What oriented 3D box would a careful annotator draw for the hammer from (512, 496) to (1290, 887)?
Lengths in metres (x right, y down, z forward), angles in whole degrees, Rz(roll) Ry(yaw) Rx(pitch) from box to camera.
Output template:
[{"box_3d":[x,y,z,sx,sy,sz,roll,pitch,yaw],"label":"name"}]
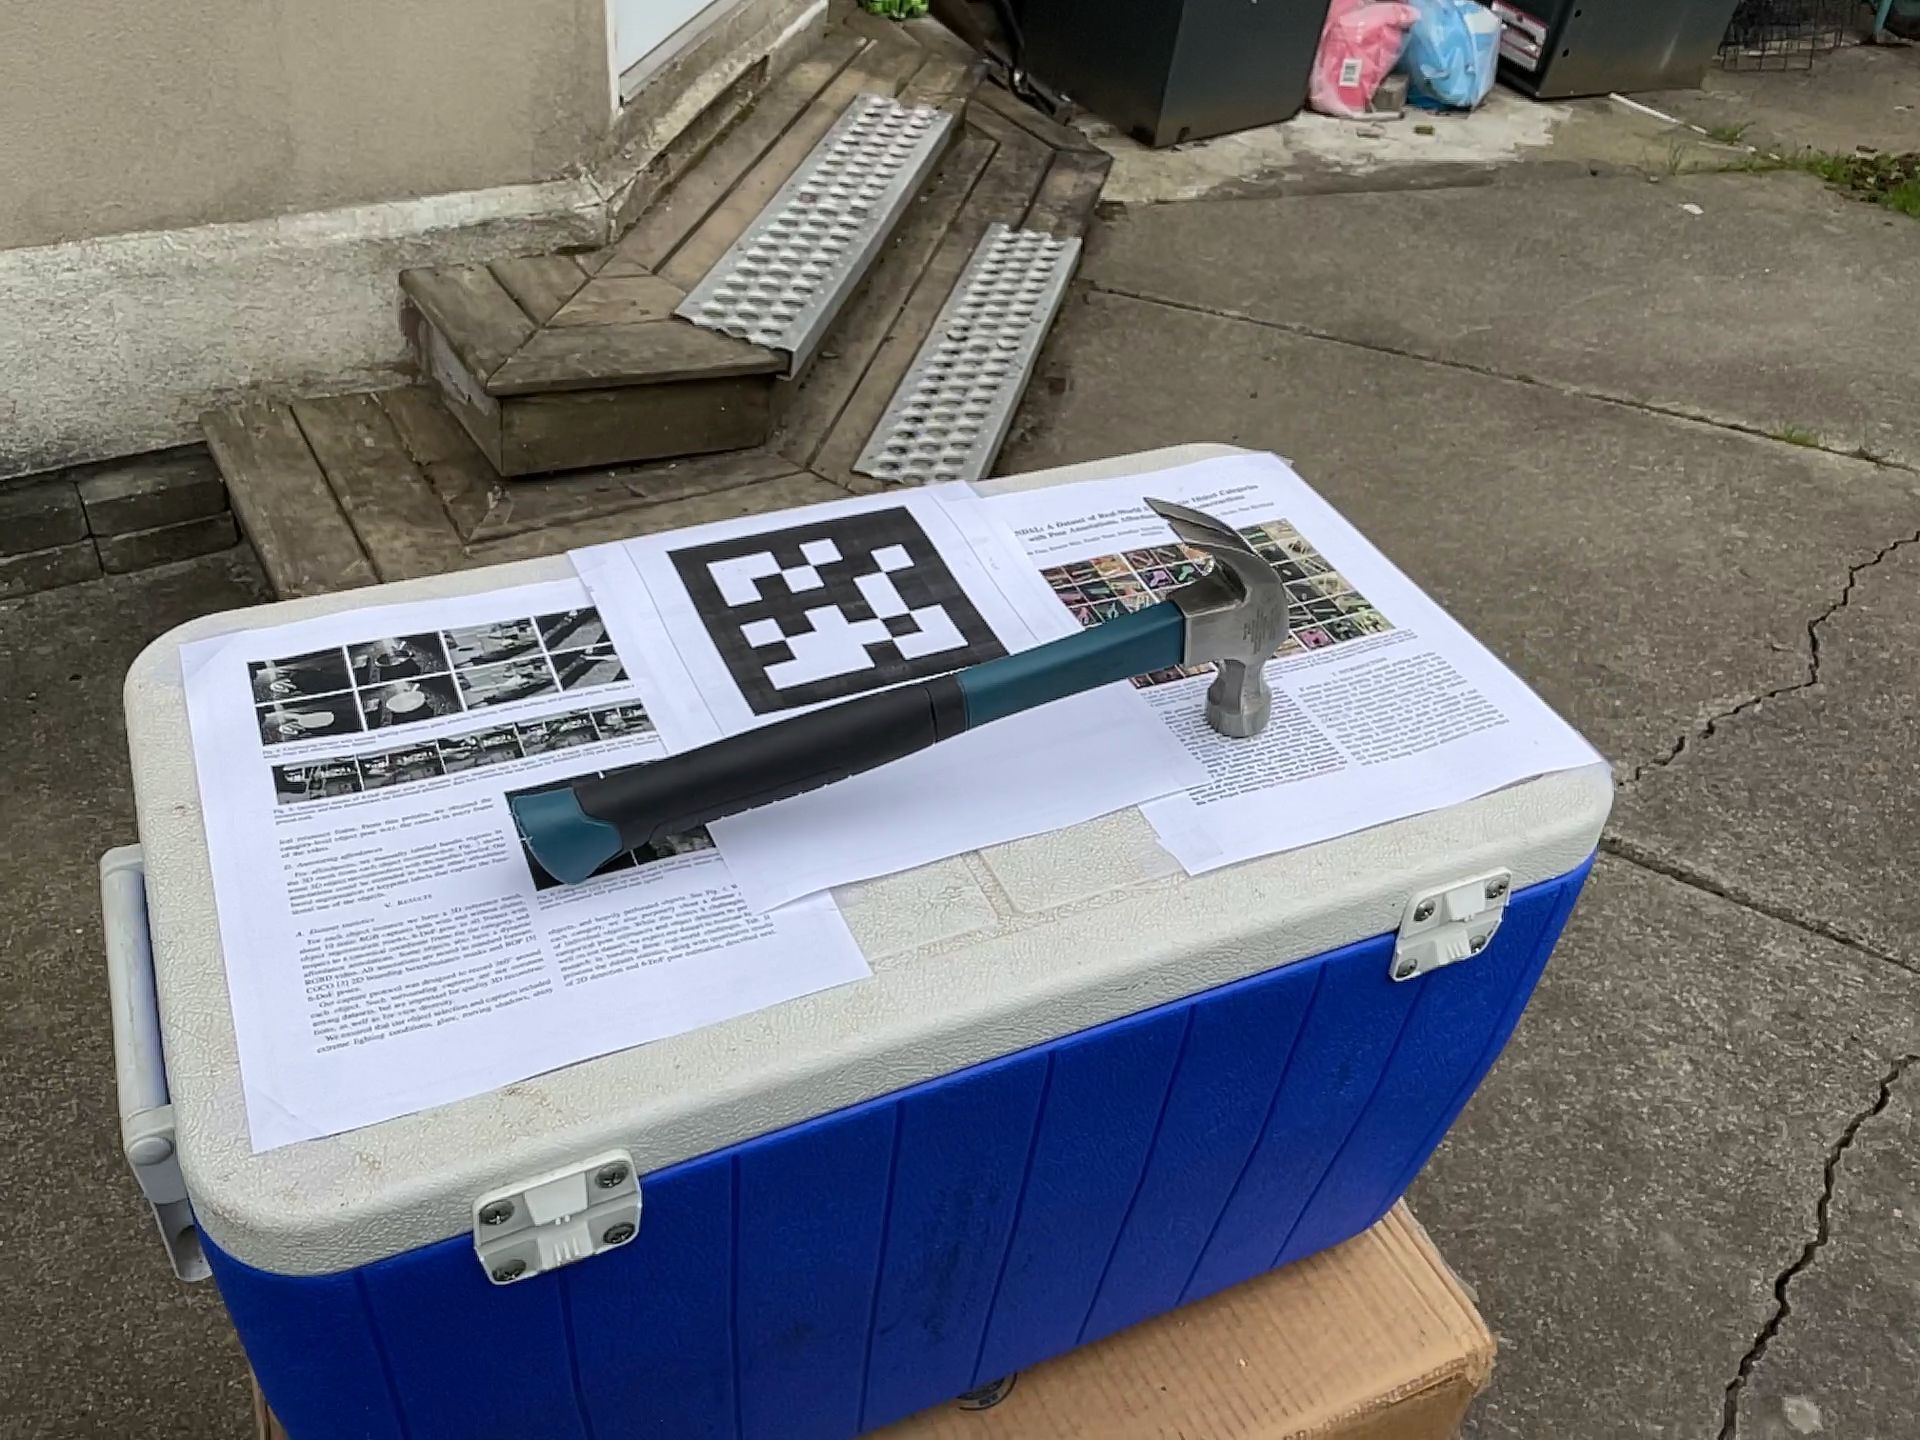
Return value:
[{"box_3d":[-0.013,-0.001,0.648,0.331,0.128,0.033,-18,44,-15],"label":"hammer"}]
